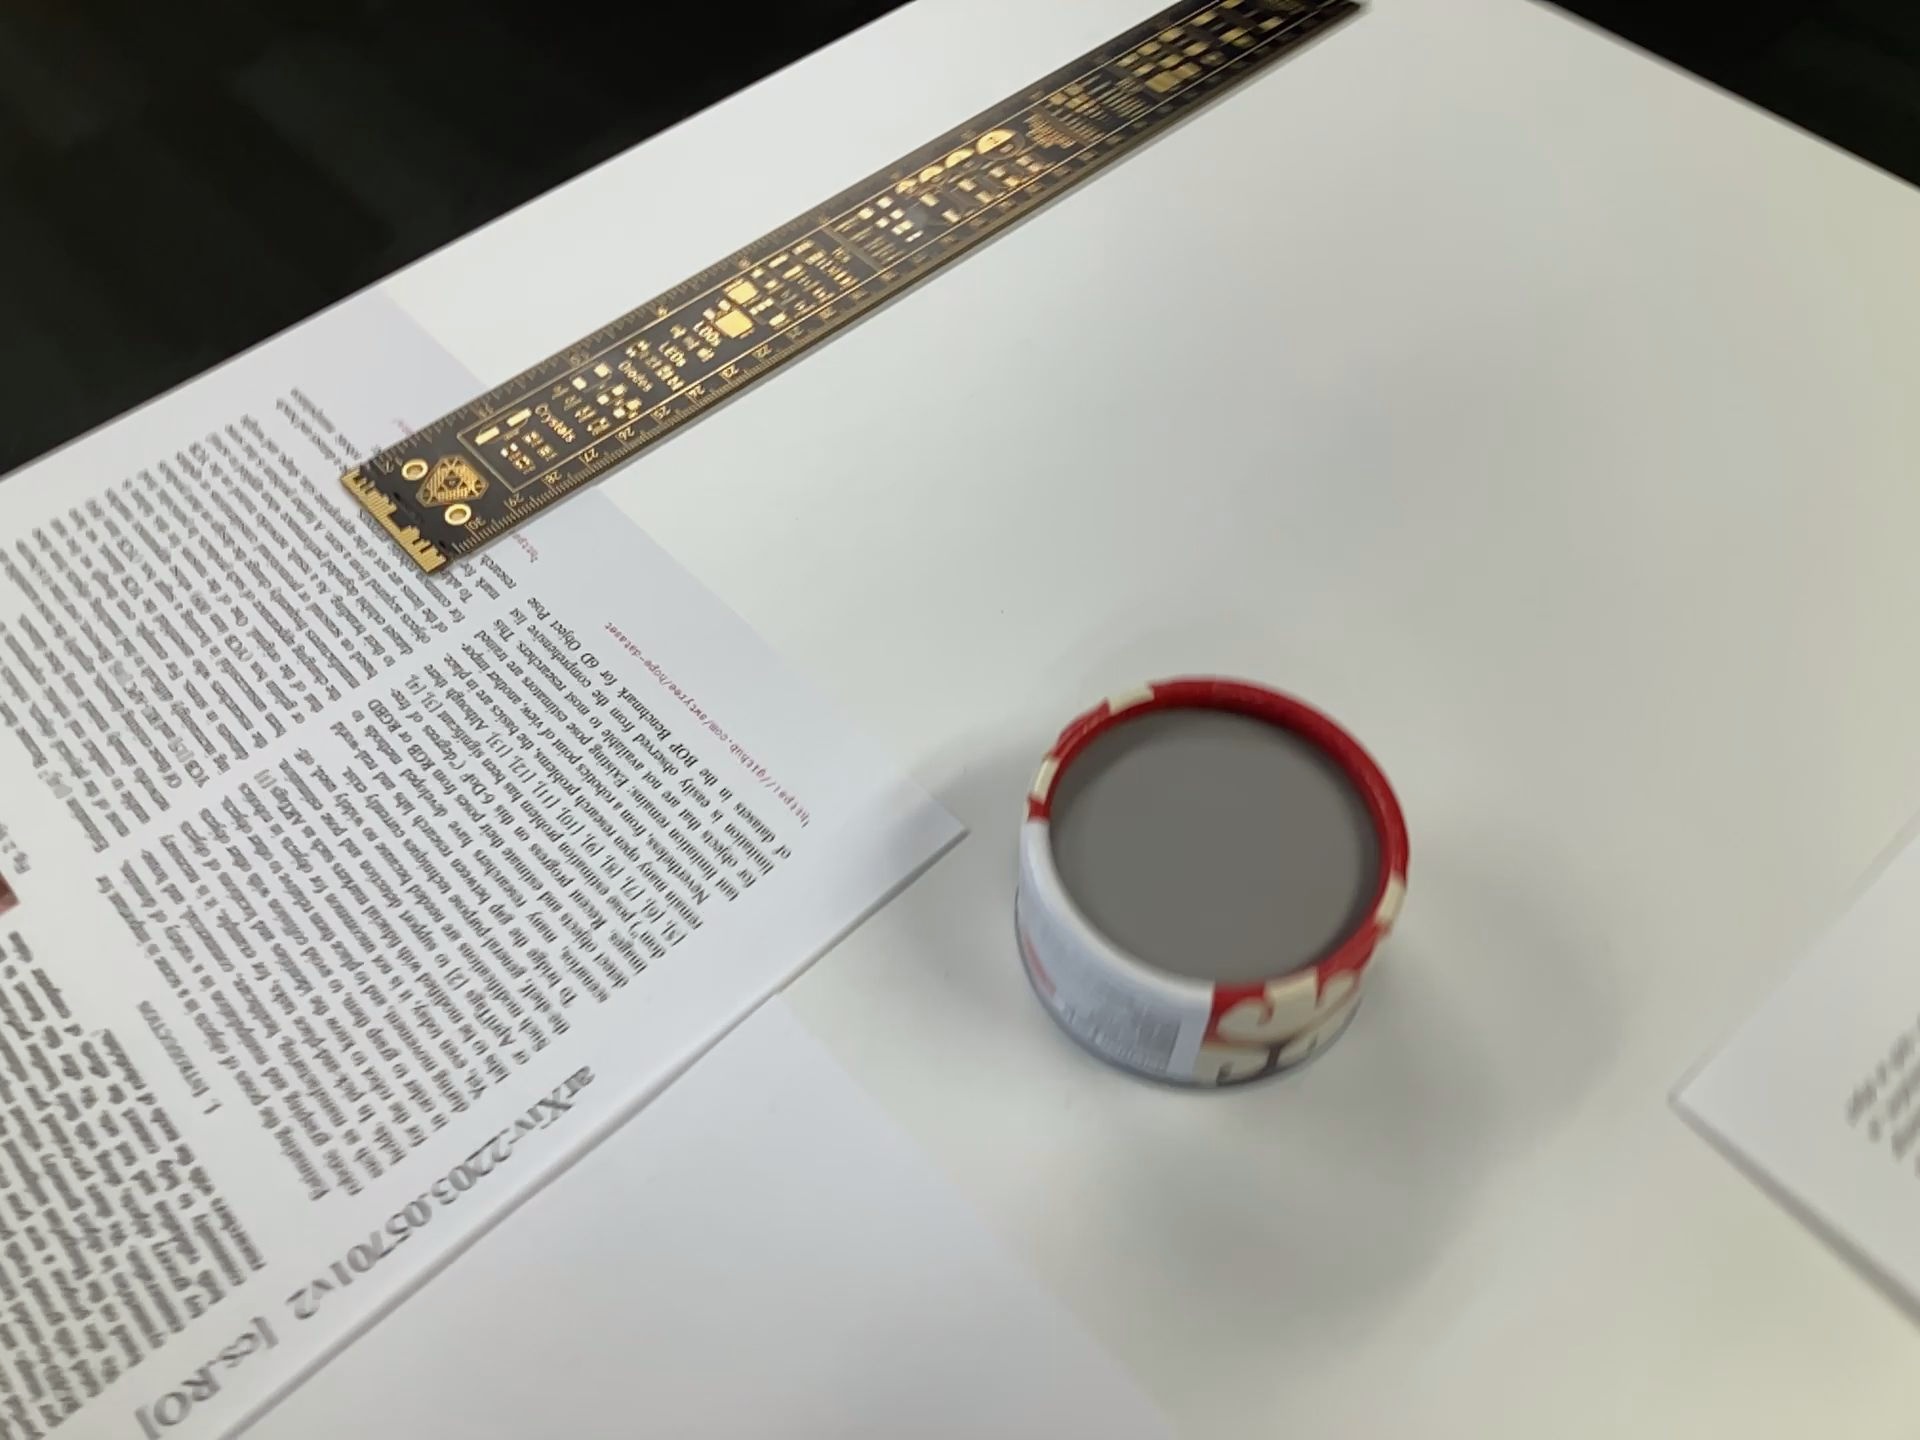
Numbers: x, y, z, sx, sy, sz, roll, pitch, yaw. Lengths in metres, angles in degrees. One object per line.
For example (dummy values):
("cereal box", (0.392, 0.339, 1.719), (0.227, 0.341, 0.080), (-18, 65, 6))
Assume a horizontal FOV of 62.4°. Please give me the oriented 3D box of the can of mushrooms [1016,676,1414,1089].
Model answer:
("can of mushrooms", (0.045, 0.026, 0.279), (0.071, 0.033, 0.071), (0, 54, 0))
